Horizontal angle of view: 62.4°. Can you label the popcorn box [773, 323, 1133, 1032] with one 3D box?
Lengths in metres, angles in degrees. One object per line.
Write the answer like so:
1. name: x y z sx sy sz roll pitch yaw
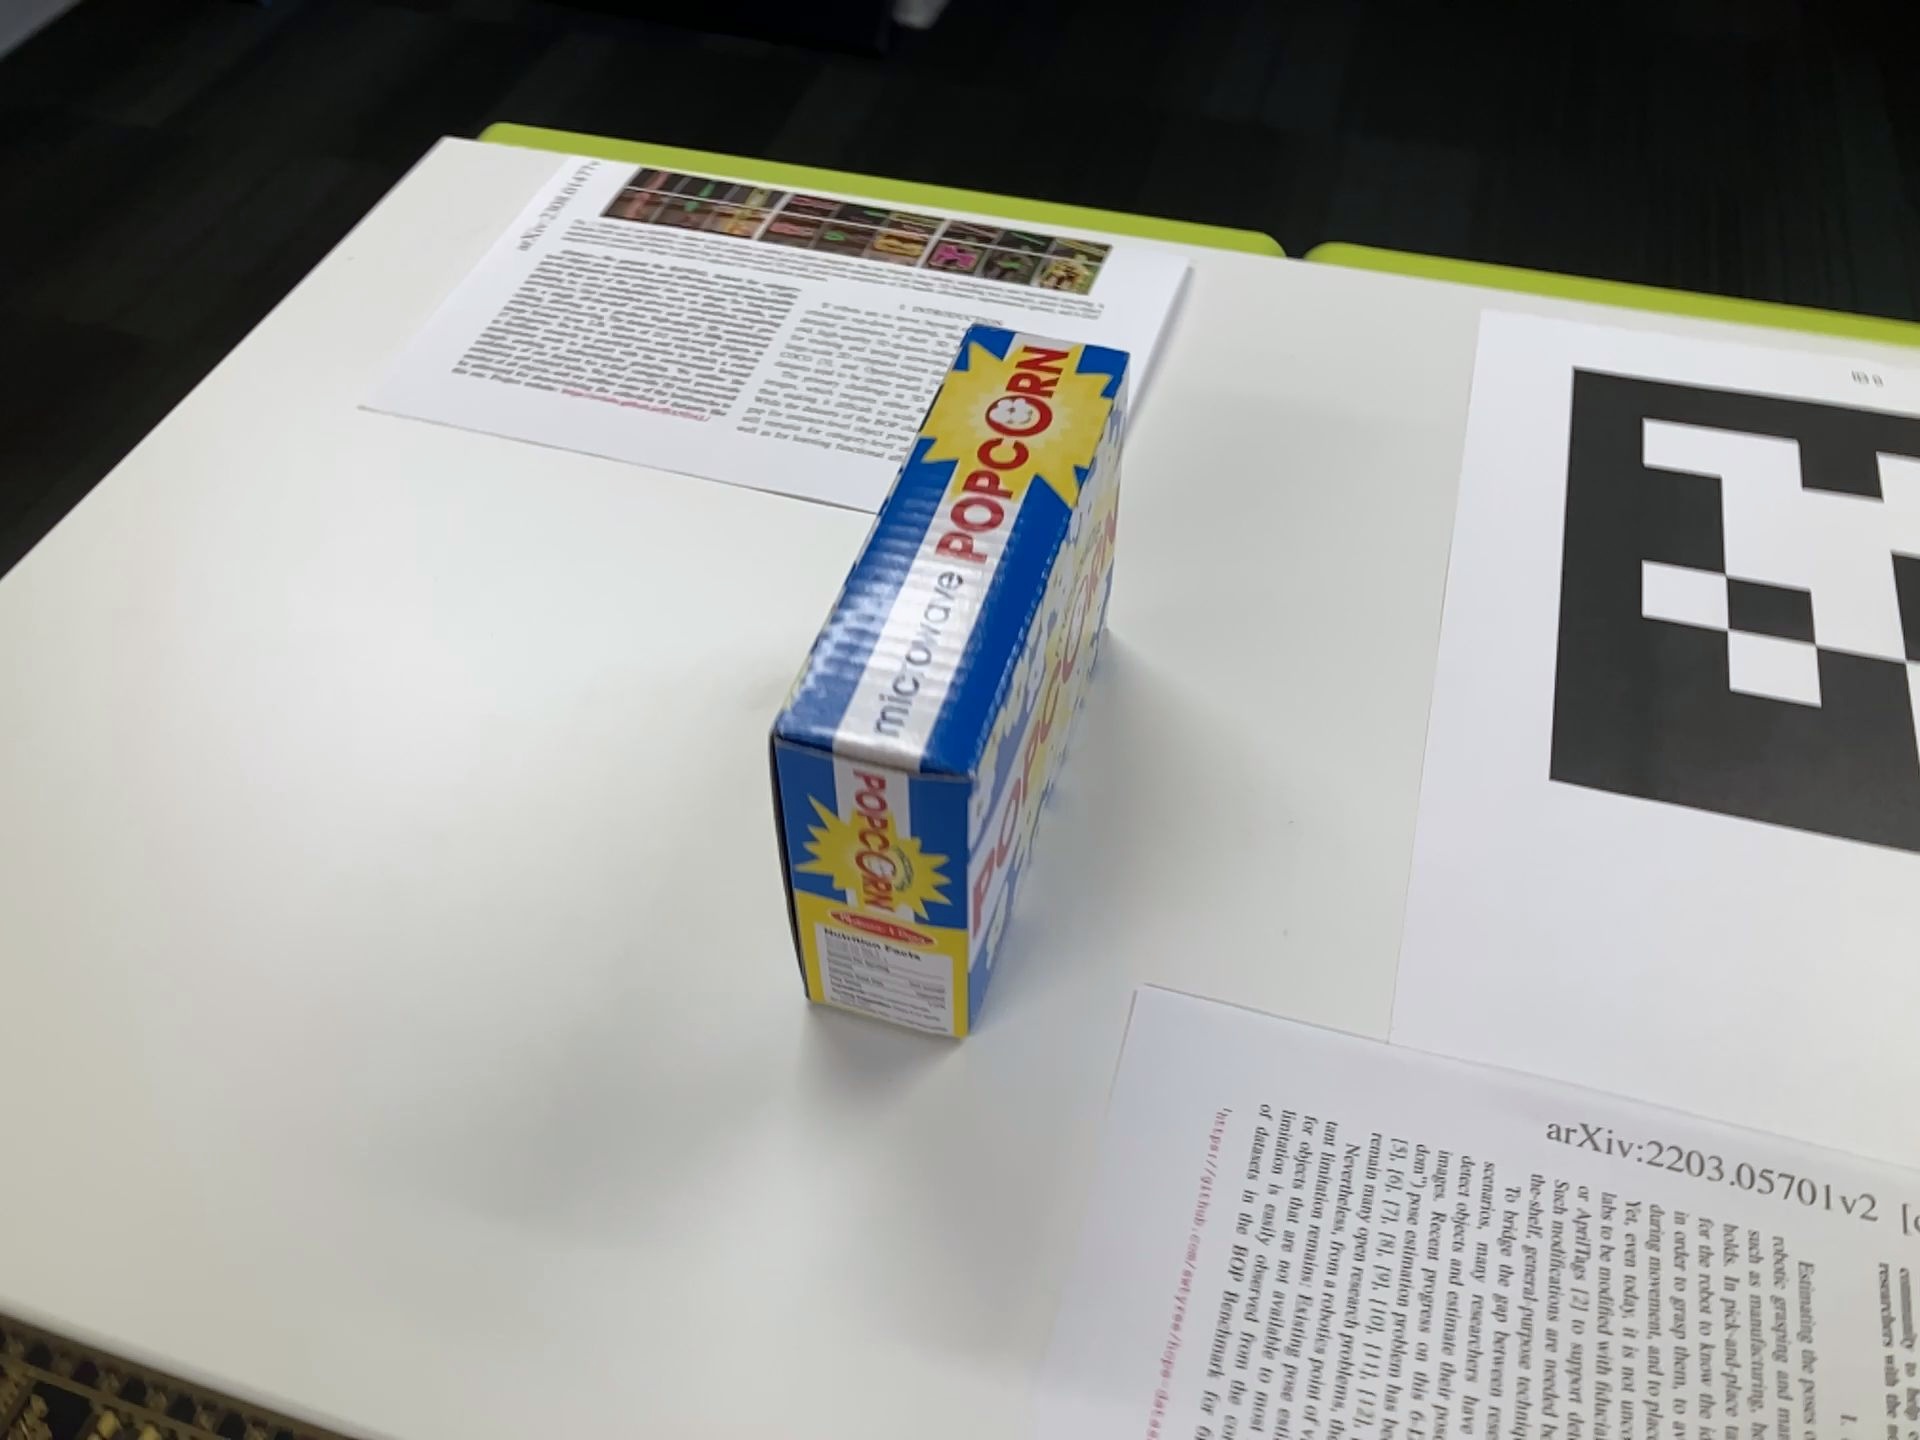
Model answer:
1. popcorn box: 0.003 -0.011 0.335 0.038 0.085 0.126 12 50 12
